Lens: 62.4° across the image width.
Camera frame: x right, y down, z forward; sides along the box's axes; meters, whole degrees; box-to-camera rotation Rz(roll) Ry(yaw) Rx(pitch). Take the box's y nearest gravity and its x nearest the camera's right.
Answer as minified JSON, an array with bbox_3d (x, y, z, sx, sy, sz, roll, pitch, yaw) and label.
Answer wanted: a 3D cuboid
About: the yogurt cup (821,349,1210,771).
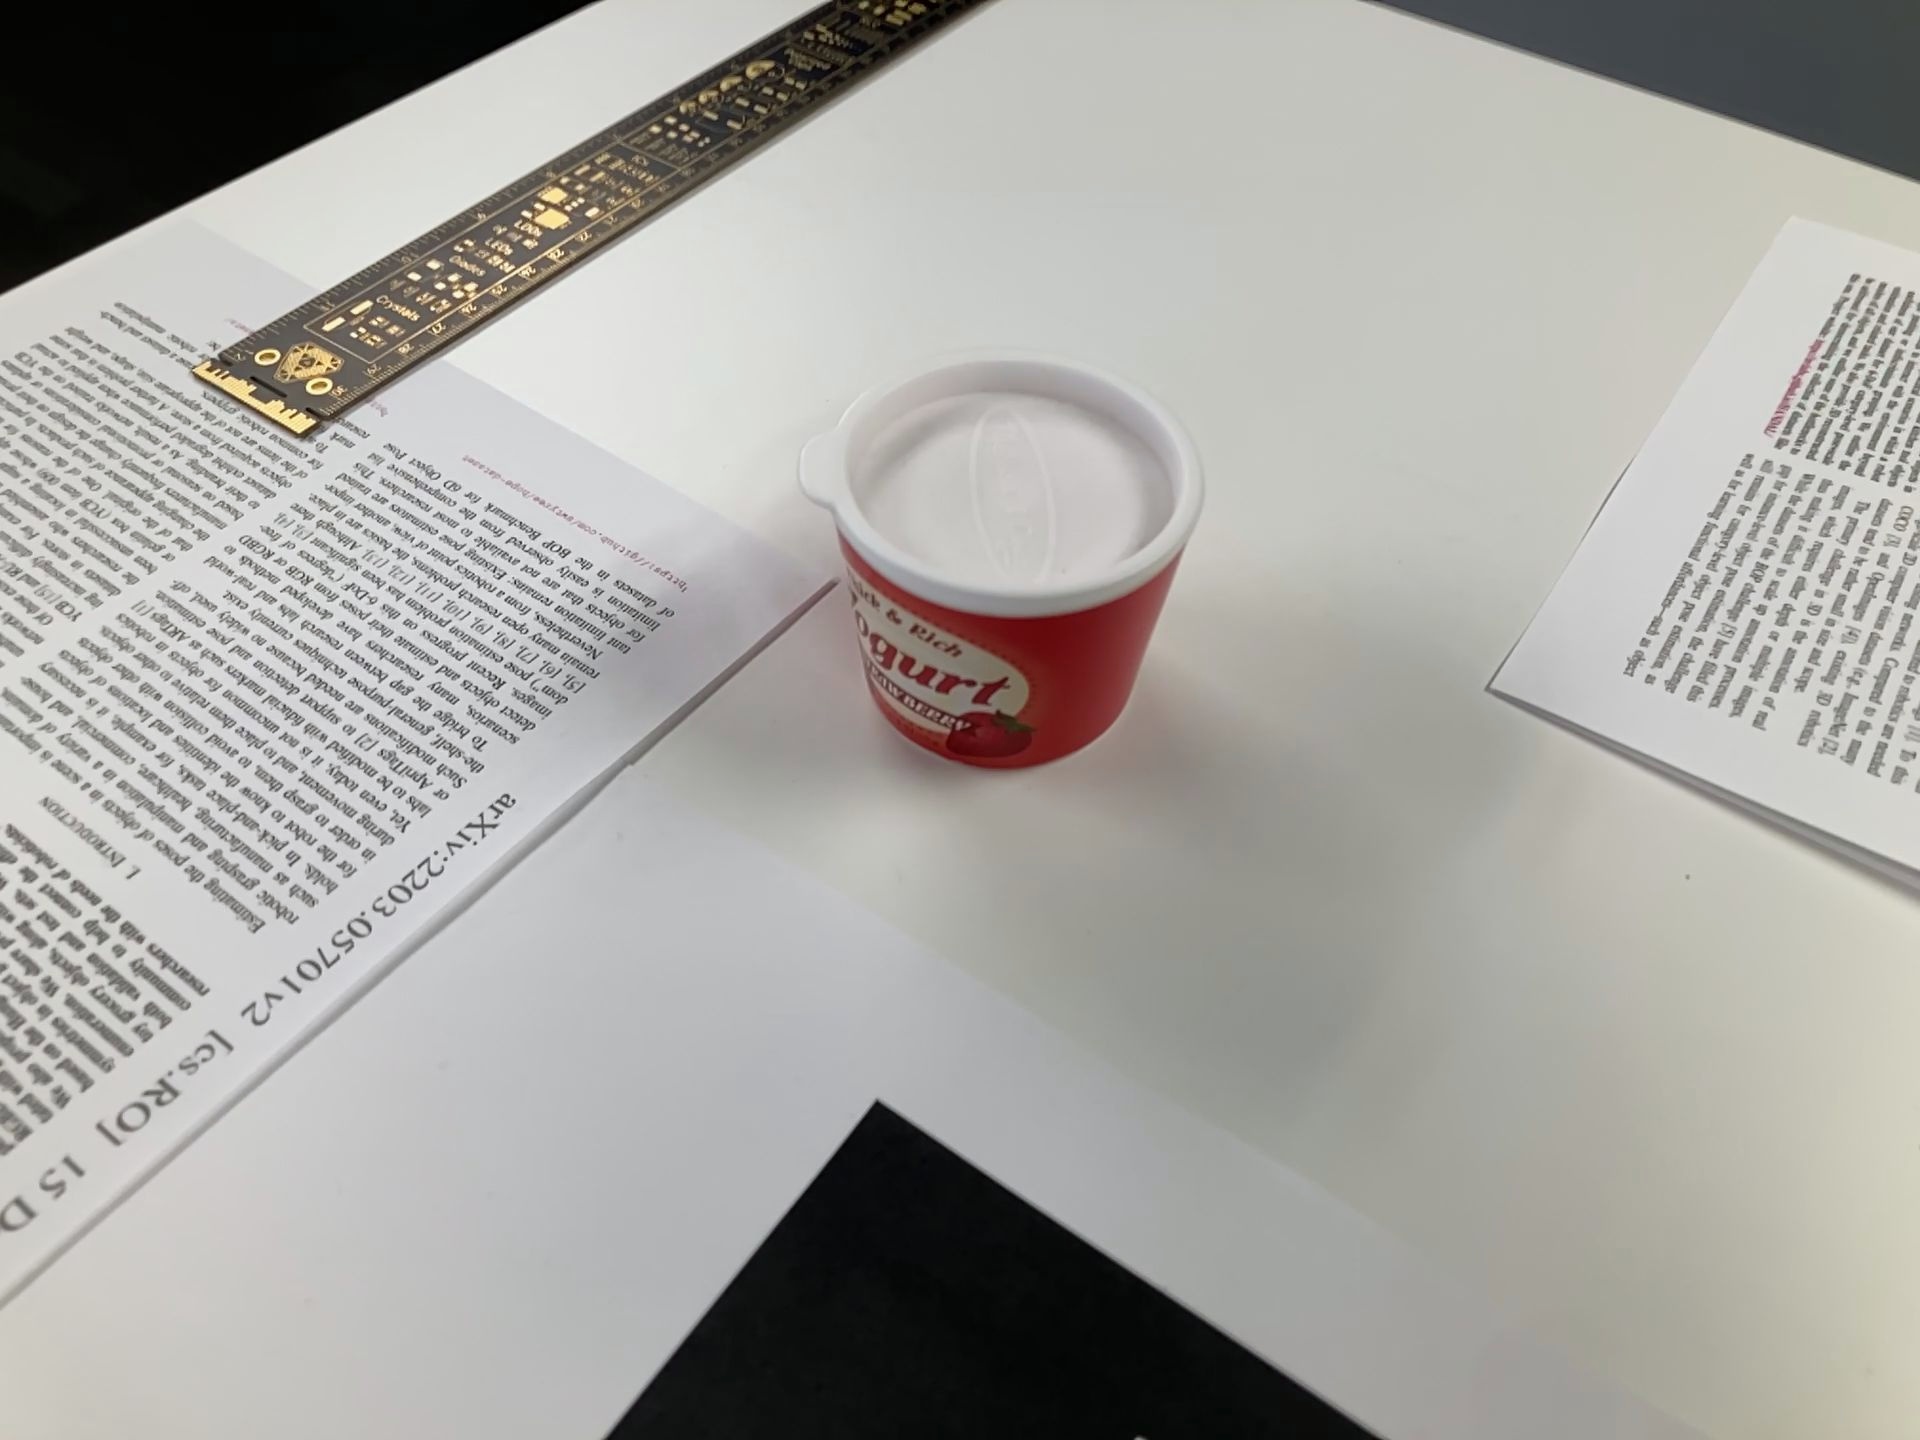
[{"bbox_3d":[0.009,-0.028,0.295,0.072,0.054,0.072,2,49,-2],"label":"yogurt cup"}]
